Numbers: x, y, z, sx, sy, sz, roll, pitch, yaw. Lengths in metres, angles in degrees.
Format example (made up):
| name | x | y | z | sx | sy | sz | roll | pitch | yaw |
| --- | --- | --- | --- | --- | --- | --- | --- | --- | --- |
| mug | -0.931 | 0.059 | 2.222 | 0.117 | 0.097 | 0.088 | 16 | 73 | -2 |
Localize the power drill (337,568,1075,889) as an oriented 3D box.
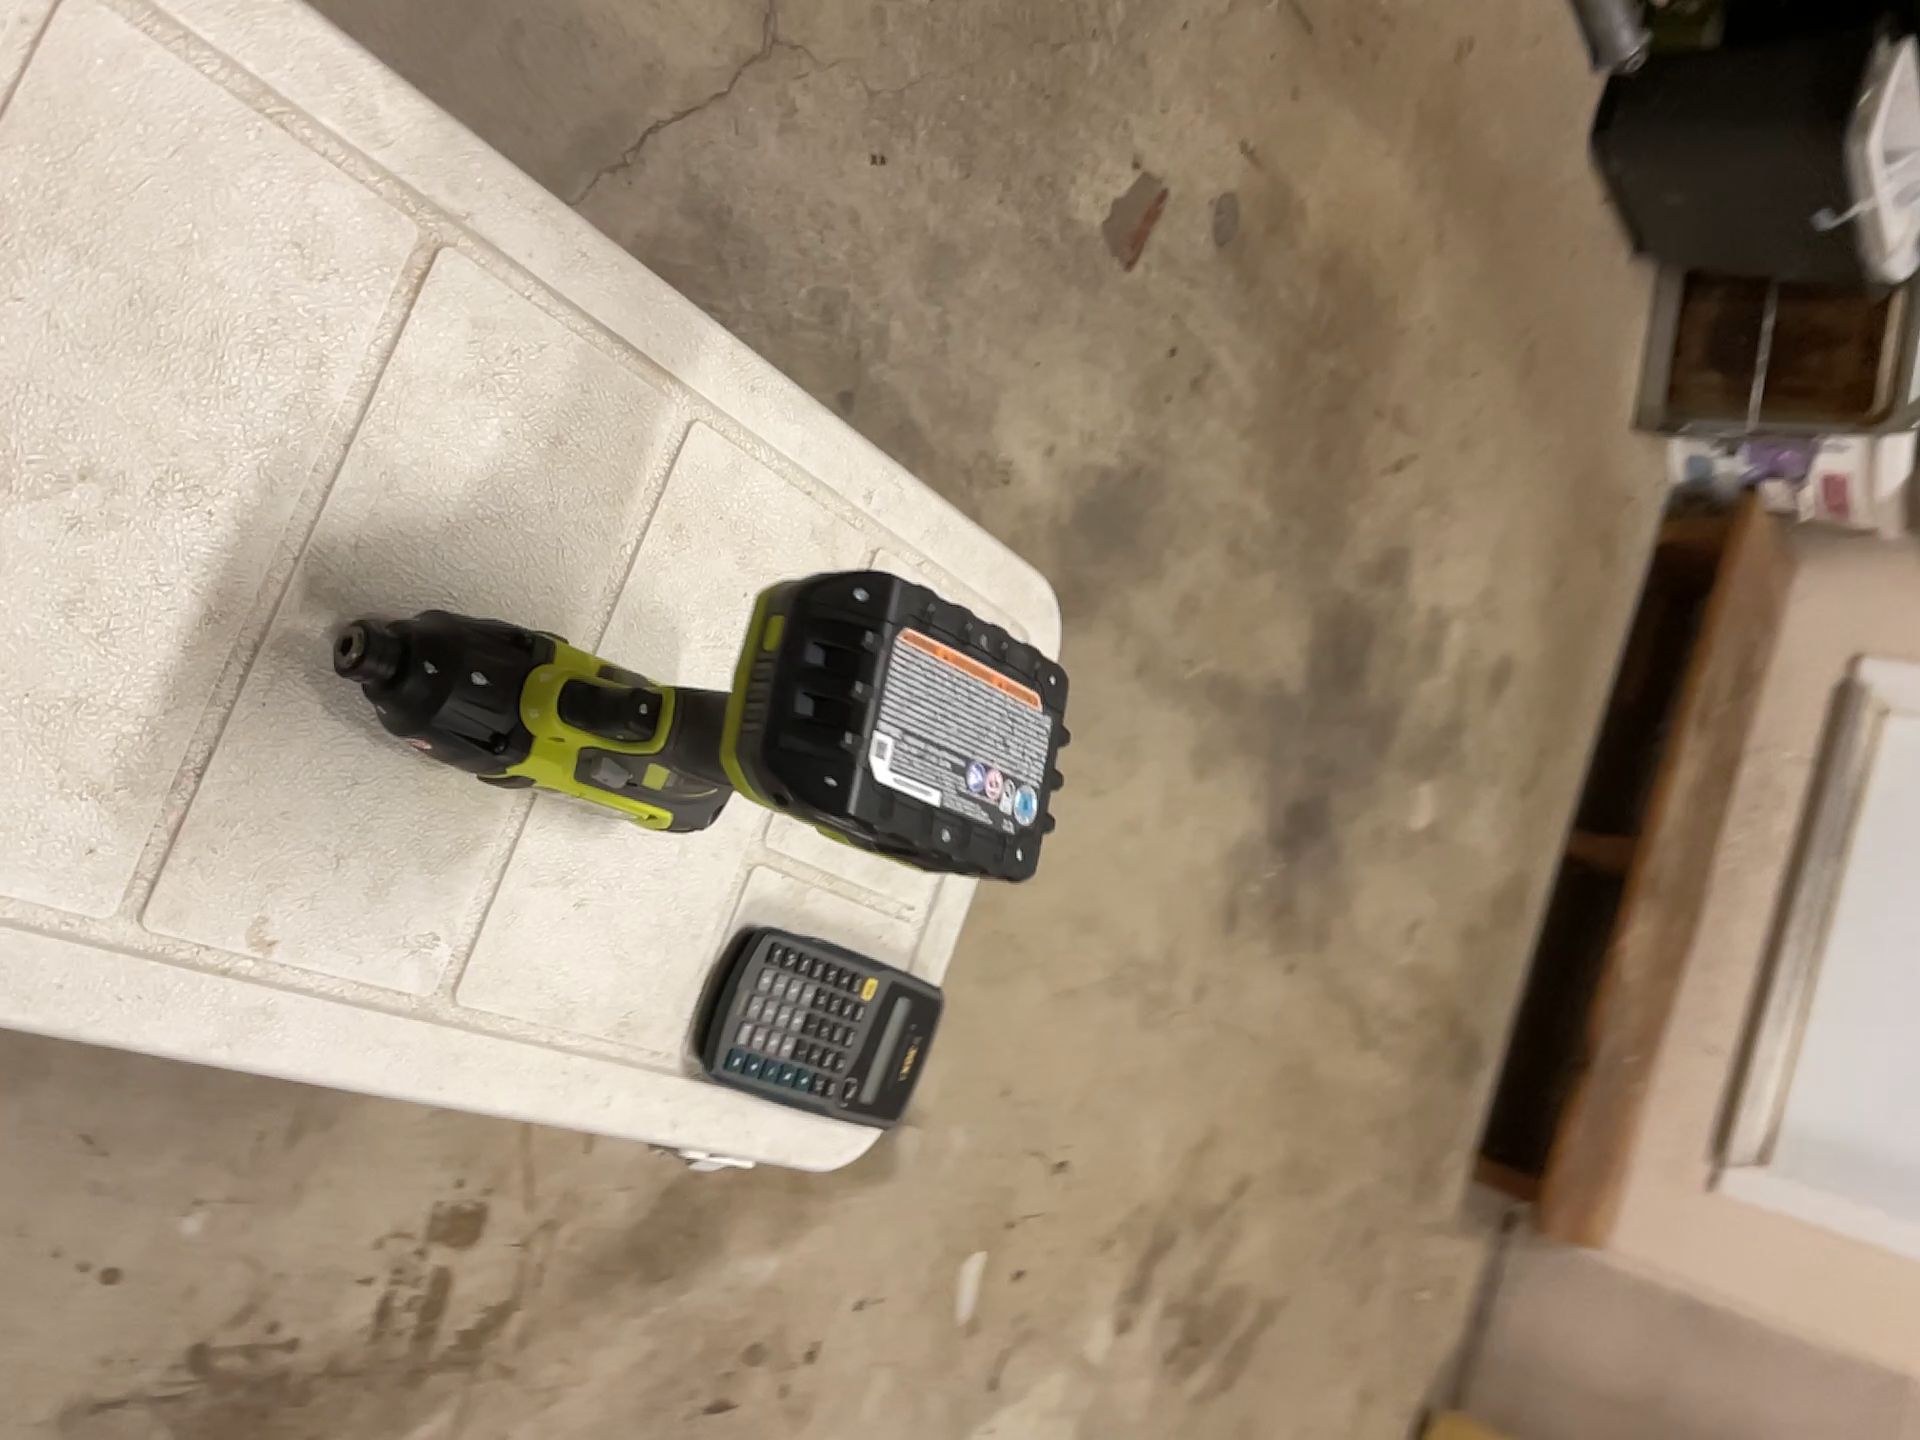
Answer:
| name | x | y | z | sx | sy | sz | roll | pitch | yaw |
| --- | --- | --- | --- | --- | --- | --- | --- | --- | --- |
| power drill | -0.090 | 0.002 | 0.551 | 0.171 | 0.223 | 0.080 | 27 | 70 | -51 |
